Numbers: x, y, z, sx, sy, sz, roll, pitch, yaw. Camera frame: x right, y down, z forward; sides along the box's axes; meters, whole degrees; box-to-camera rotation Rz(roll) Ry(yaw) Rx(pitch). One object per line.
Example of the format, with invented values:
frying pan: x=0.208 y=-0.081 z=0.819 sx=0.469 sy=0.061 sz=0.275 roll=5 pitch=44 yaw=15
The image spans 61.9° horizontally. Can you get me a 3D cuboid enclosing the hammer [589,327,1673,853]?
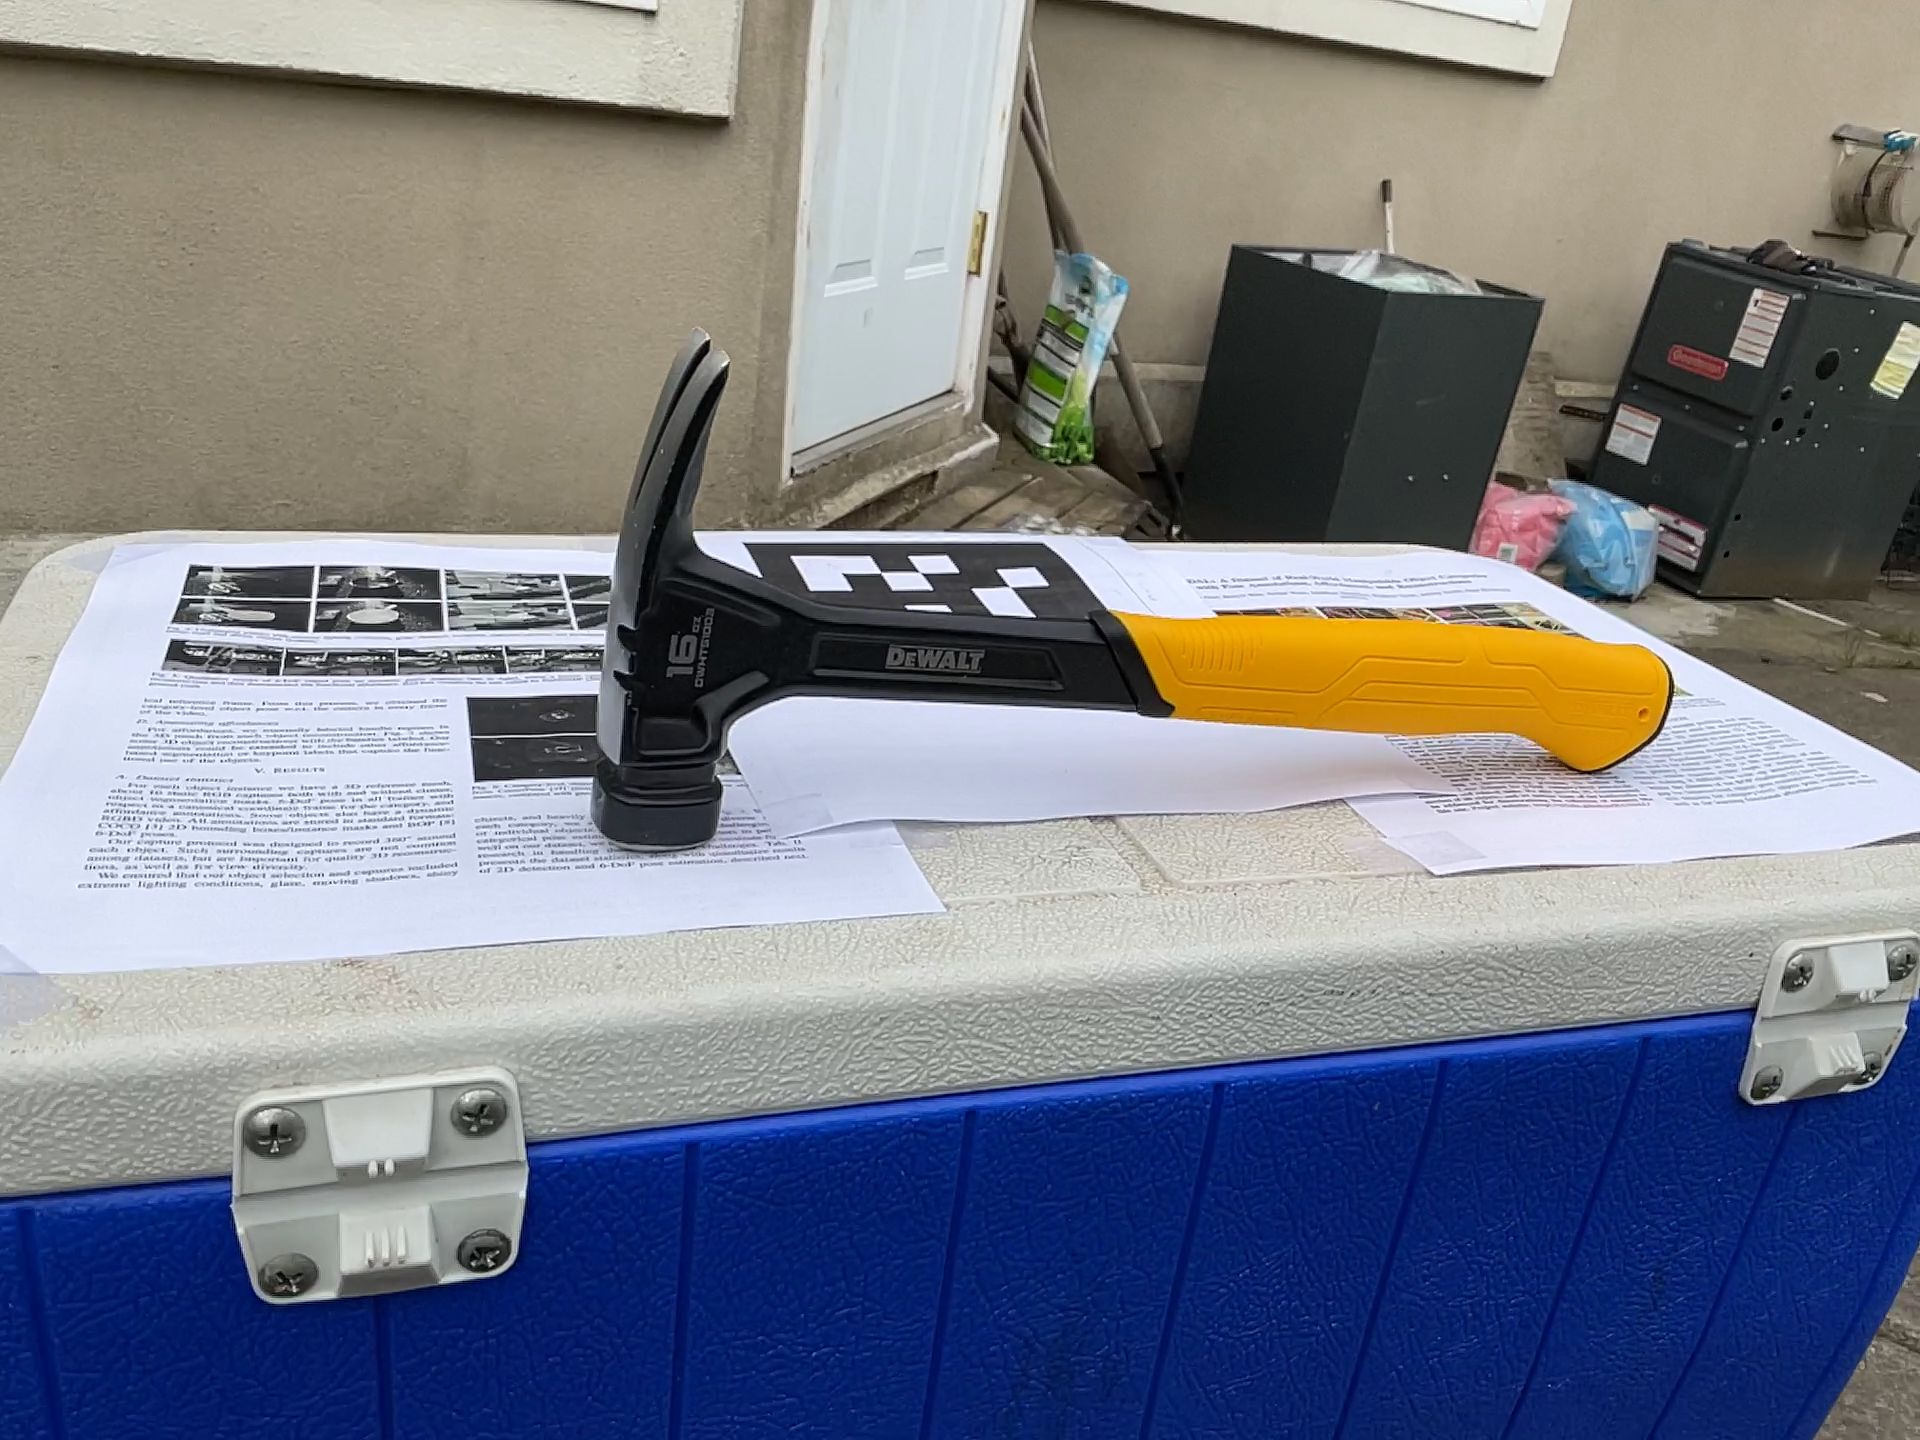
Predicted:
hammer: x=0.071 y=-0.021 z=0.452 sx=0.336 sy=0.127 sz=0.034 roll=3 pitch=22 yaw=-24
